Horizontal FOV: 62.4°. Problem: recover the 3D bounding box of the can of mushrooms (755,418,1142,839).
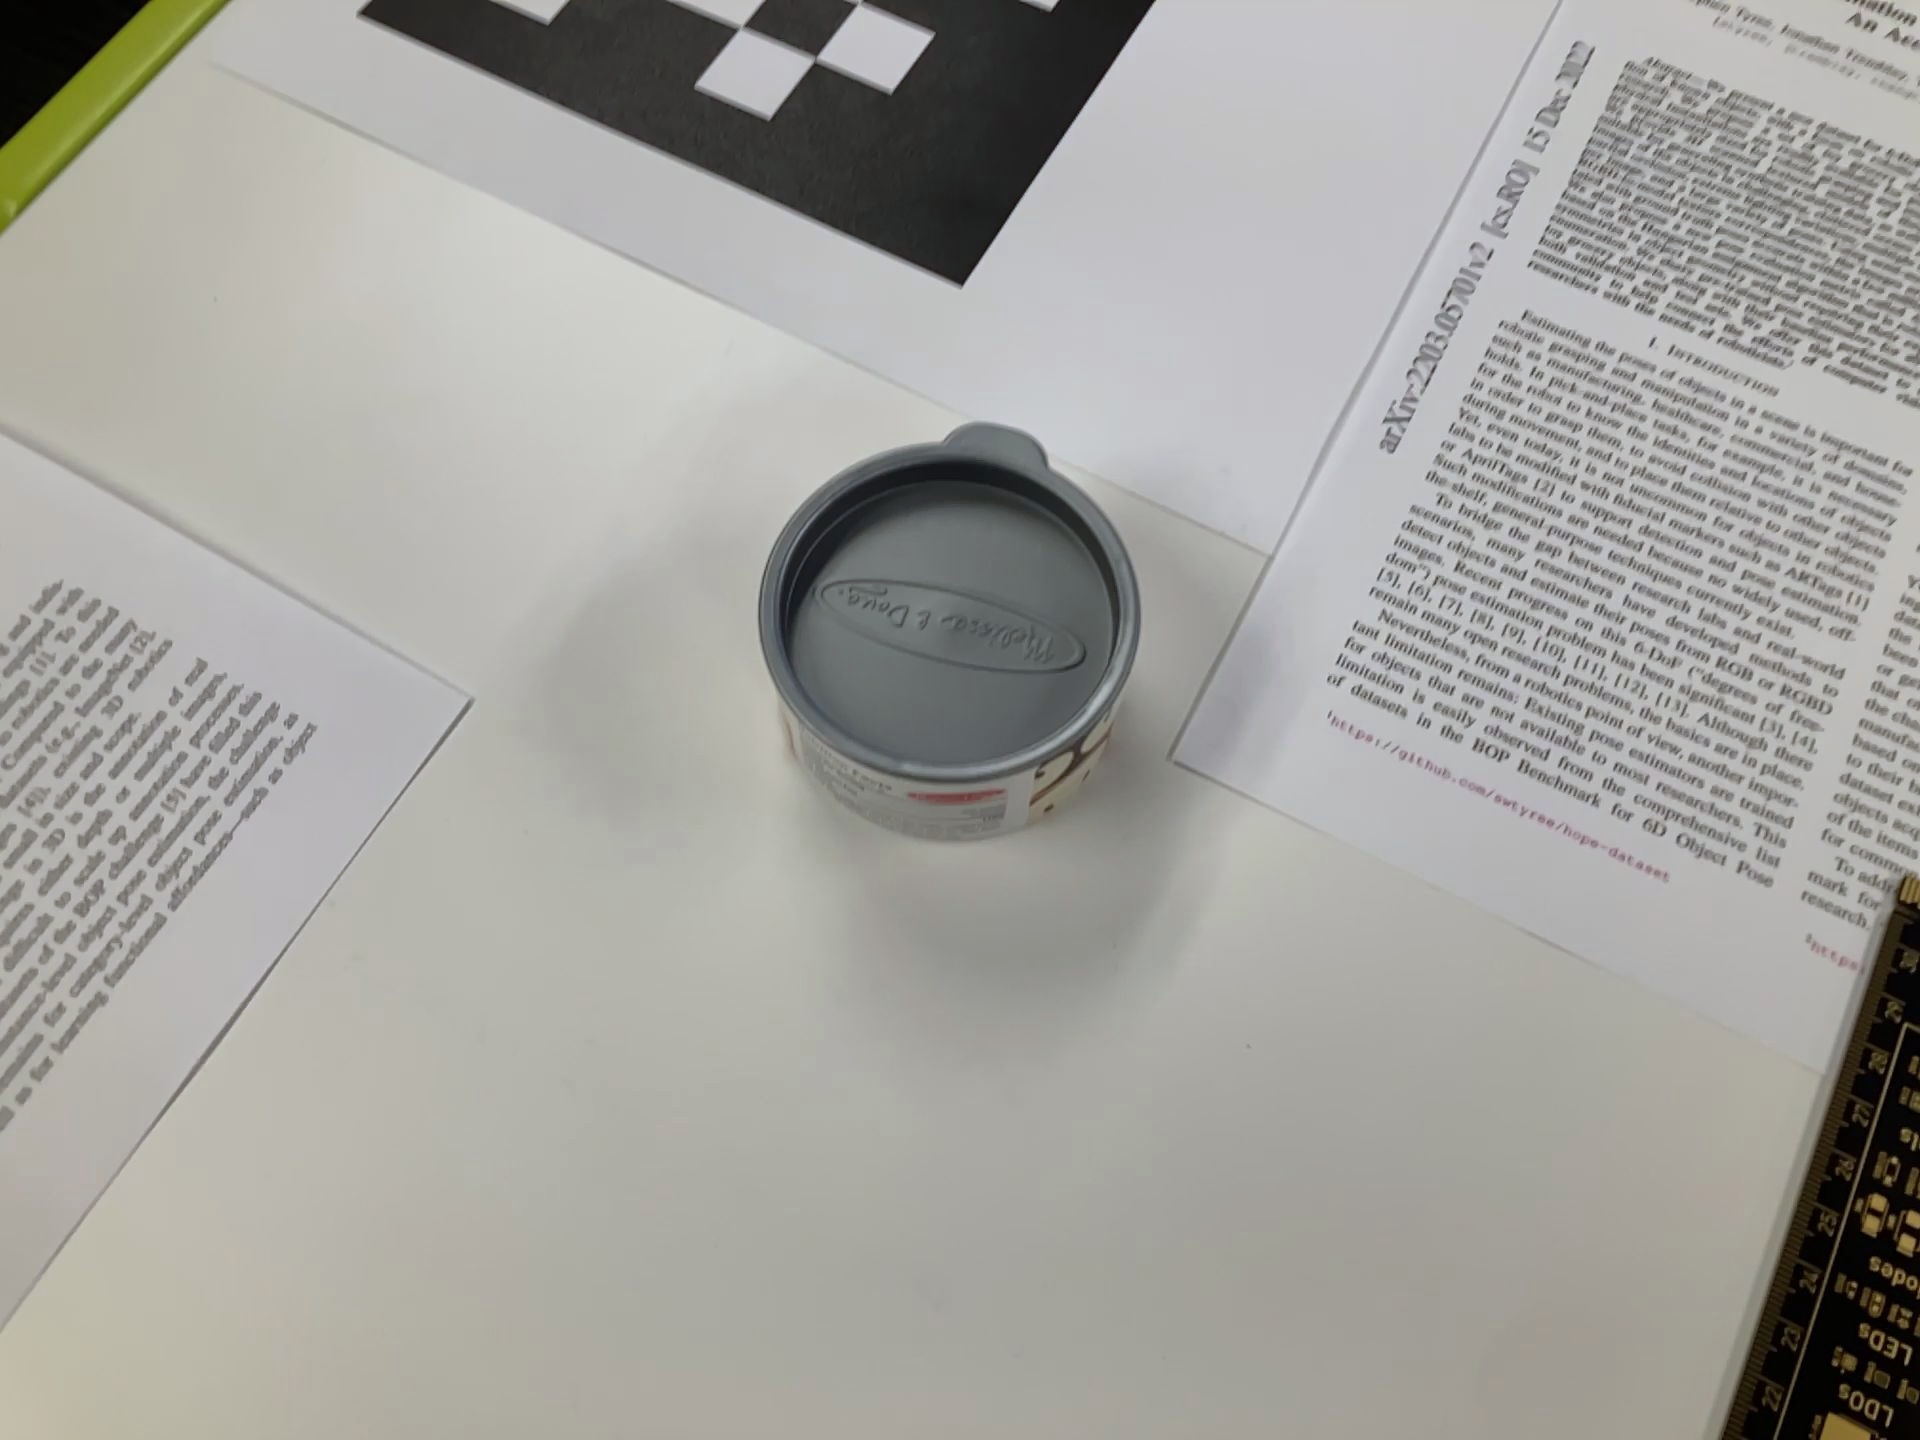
[{"bbox_3d":[-0.001,-0.016,0.285,0.071,0.033,0.071,0,67,0],"label":"can of mushrooms"}]
